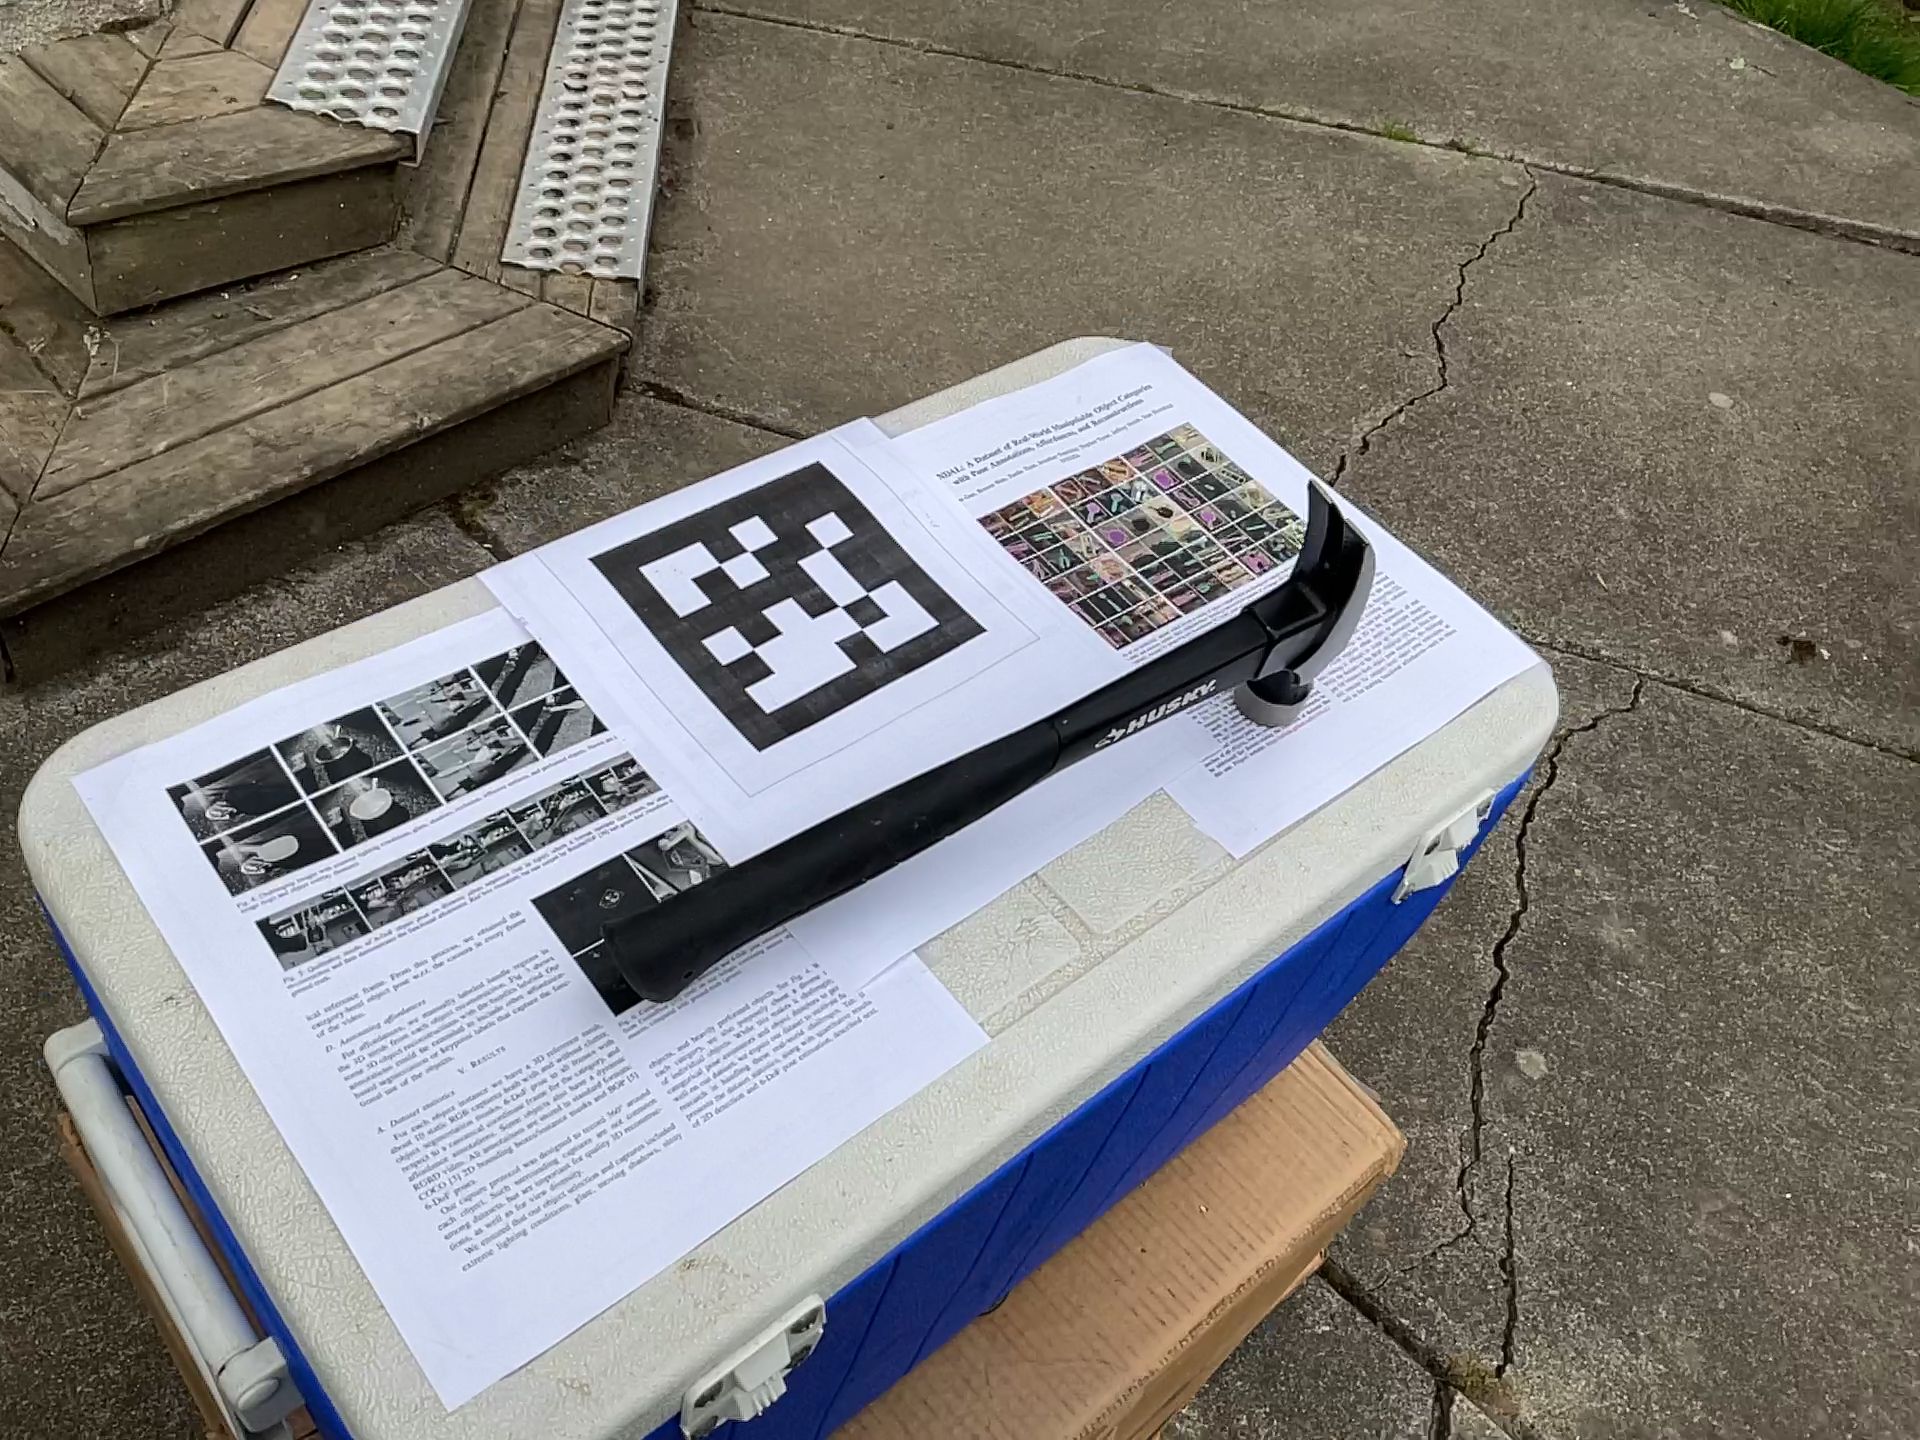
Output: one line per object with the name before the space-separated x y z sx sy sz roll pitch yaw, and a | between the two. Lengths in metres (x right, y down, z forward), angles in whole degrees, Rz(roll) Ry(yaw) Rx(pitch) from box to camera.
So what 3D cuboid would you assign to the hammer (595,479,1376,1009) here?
hammer | 0.020 0.016 0.604 0.334 0.146 0.035 -26 65 -21
